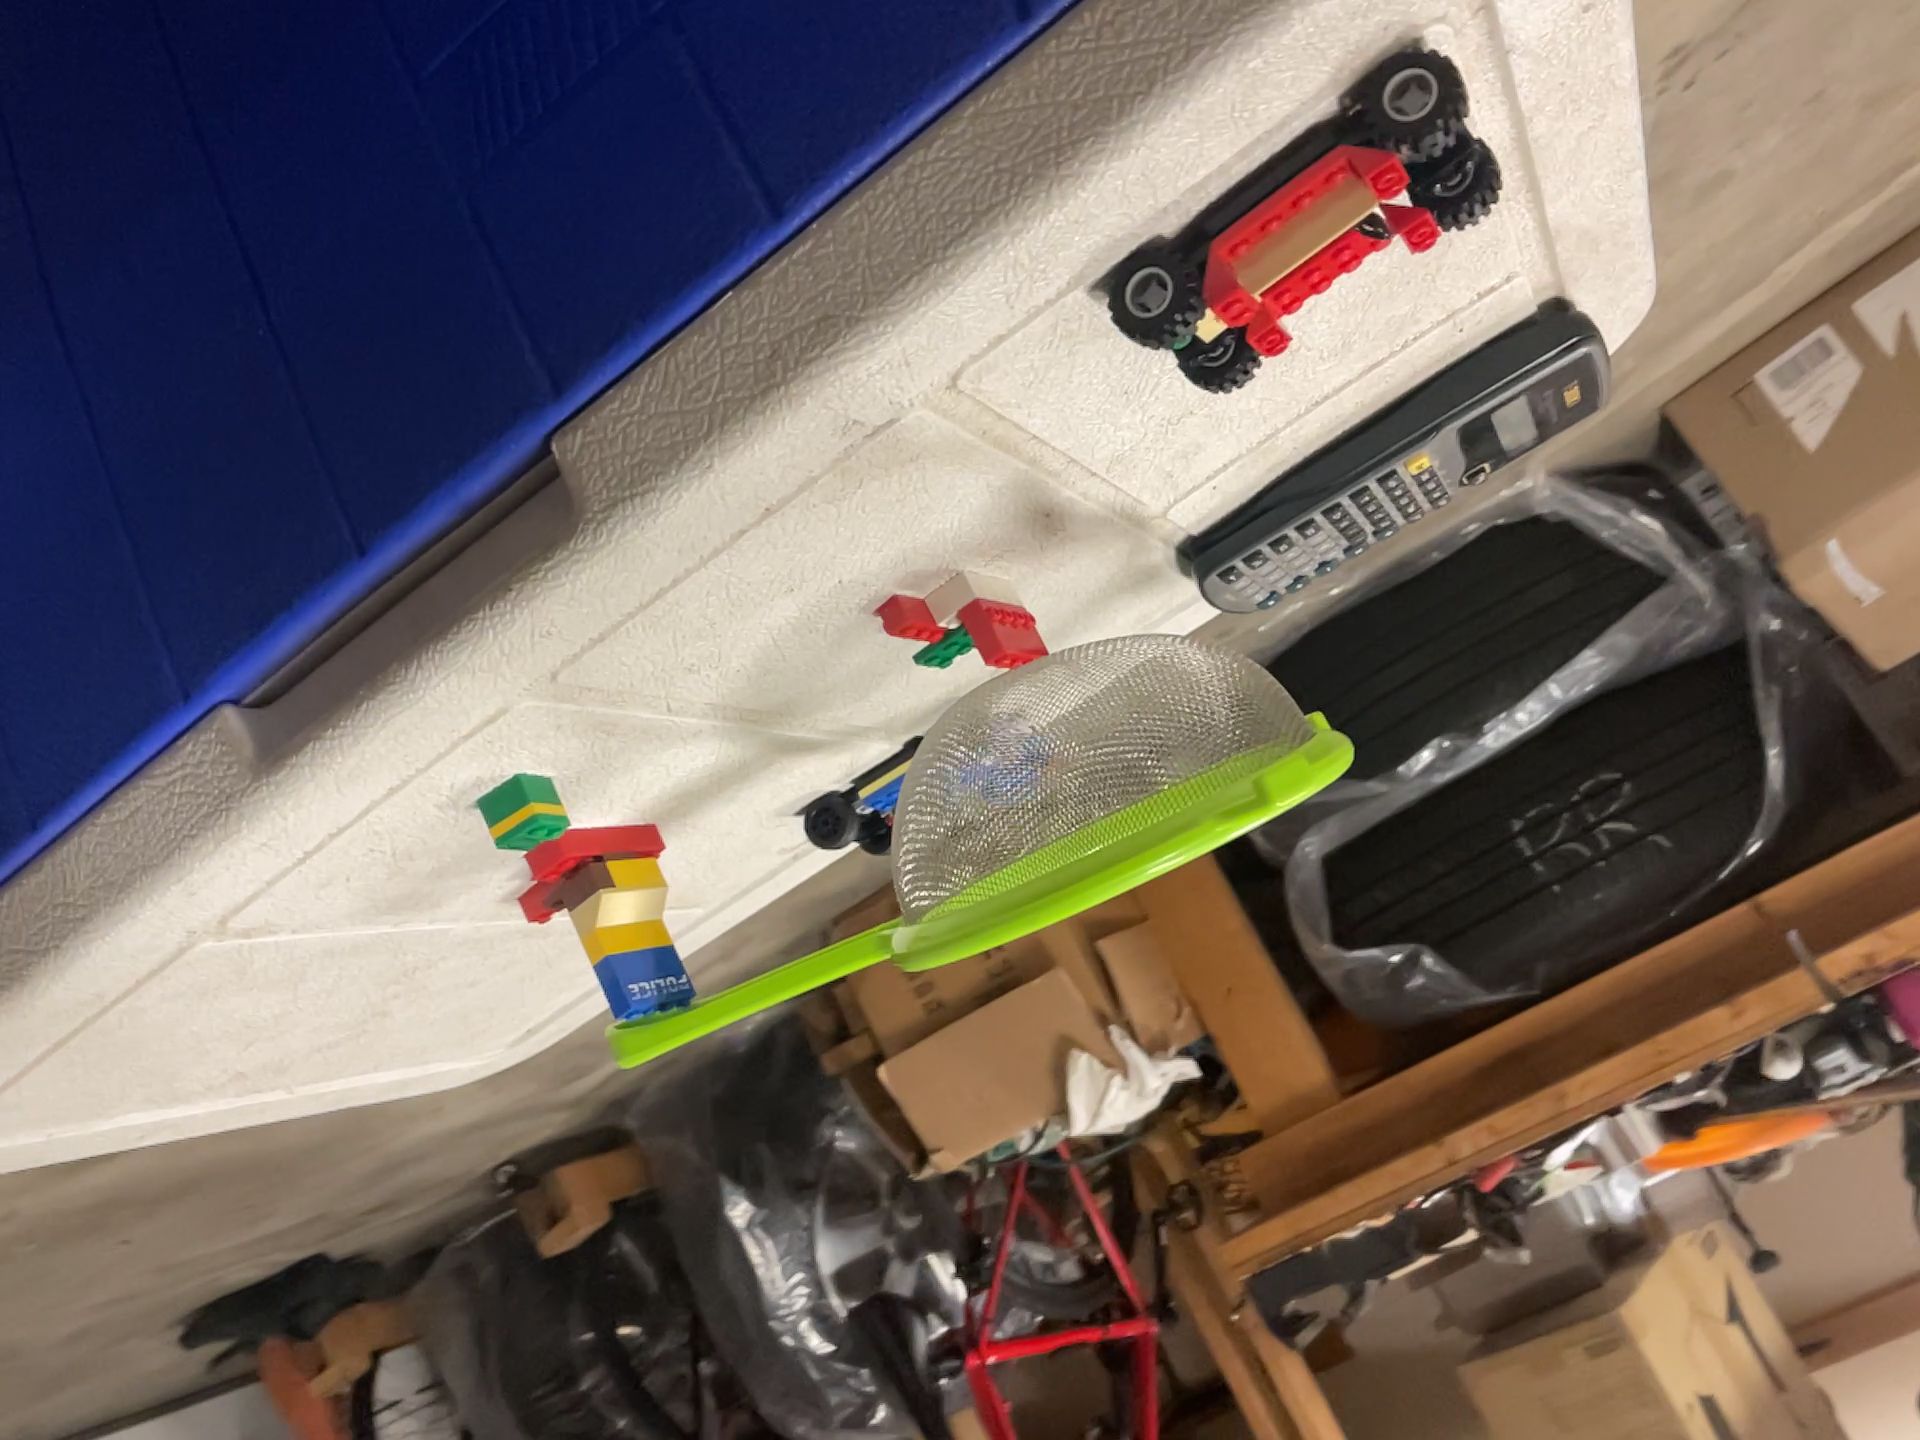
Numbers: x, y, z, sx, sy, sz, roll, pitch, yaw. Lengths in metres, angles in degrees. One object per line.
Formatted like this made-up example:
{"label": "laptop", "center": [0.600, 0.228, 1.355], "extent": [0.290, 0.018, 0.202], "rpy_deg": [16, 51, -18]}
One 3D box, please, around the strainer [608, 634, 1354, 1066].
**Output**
{"label": "strainer", "center": [-0.010, 0.035, 0.496], "extent": [0.256, 0.069, 0.151], "rpy_deg": [-24, 179, 16]}
